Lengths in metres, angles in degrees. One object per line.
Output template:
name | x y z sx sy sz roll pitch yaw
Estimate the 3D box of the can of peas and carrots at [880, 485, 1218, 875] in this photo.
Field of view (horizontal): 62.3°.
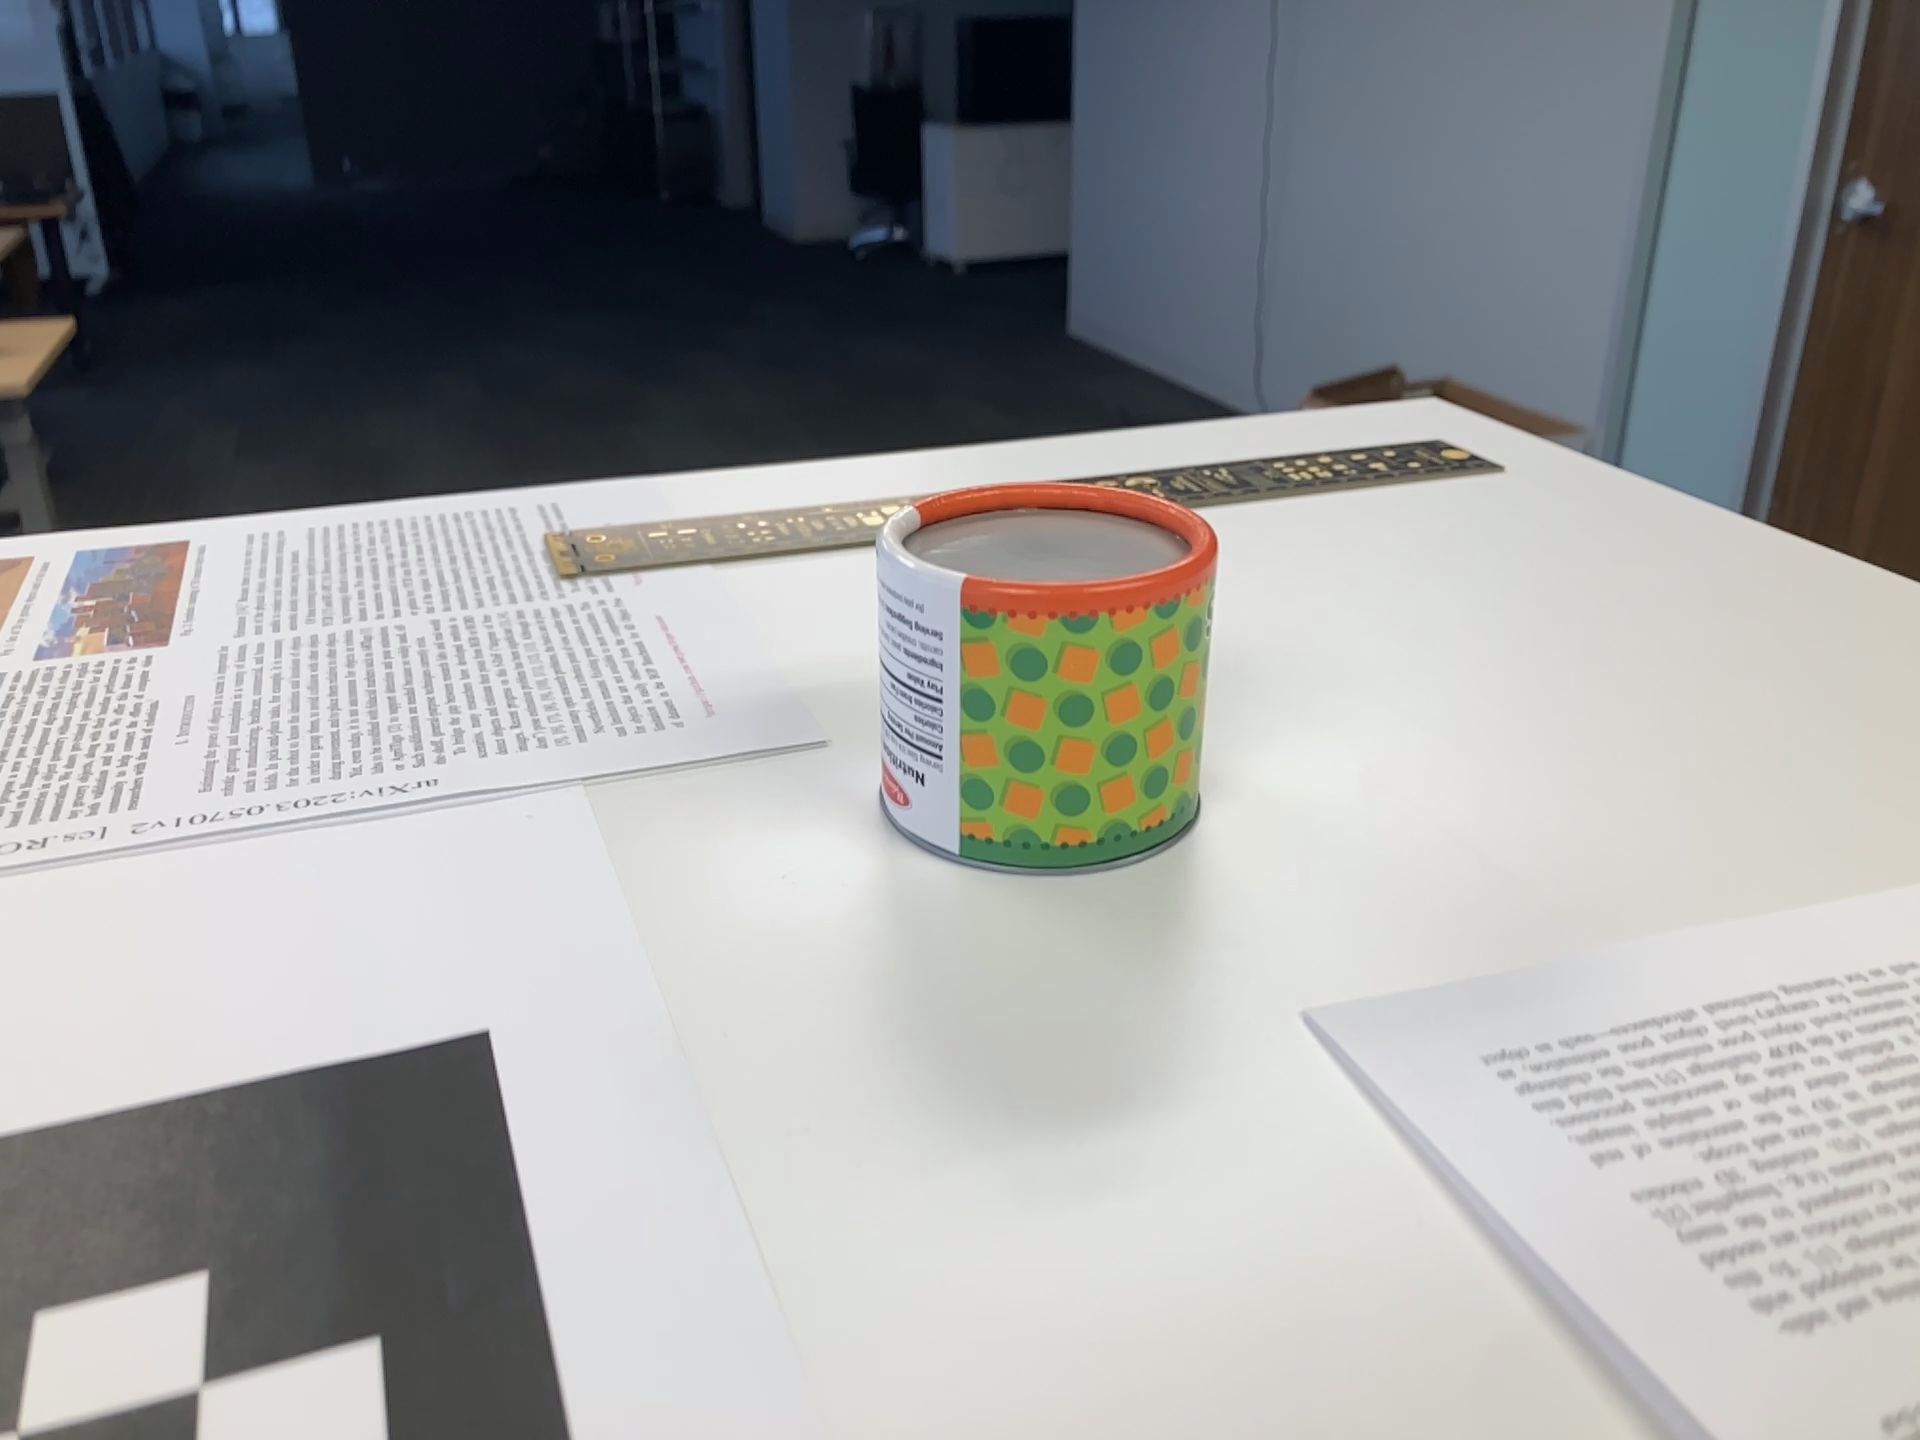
can of peas and carrots | 0.019 -0.011 0.320 0.071 0.059 0.071 1 26 0
